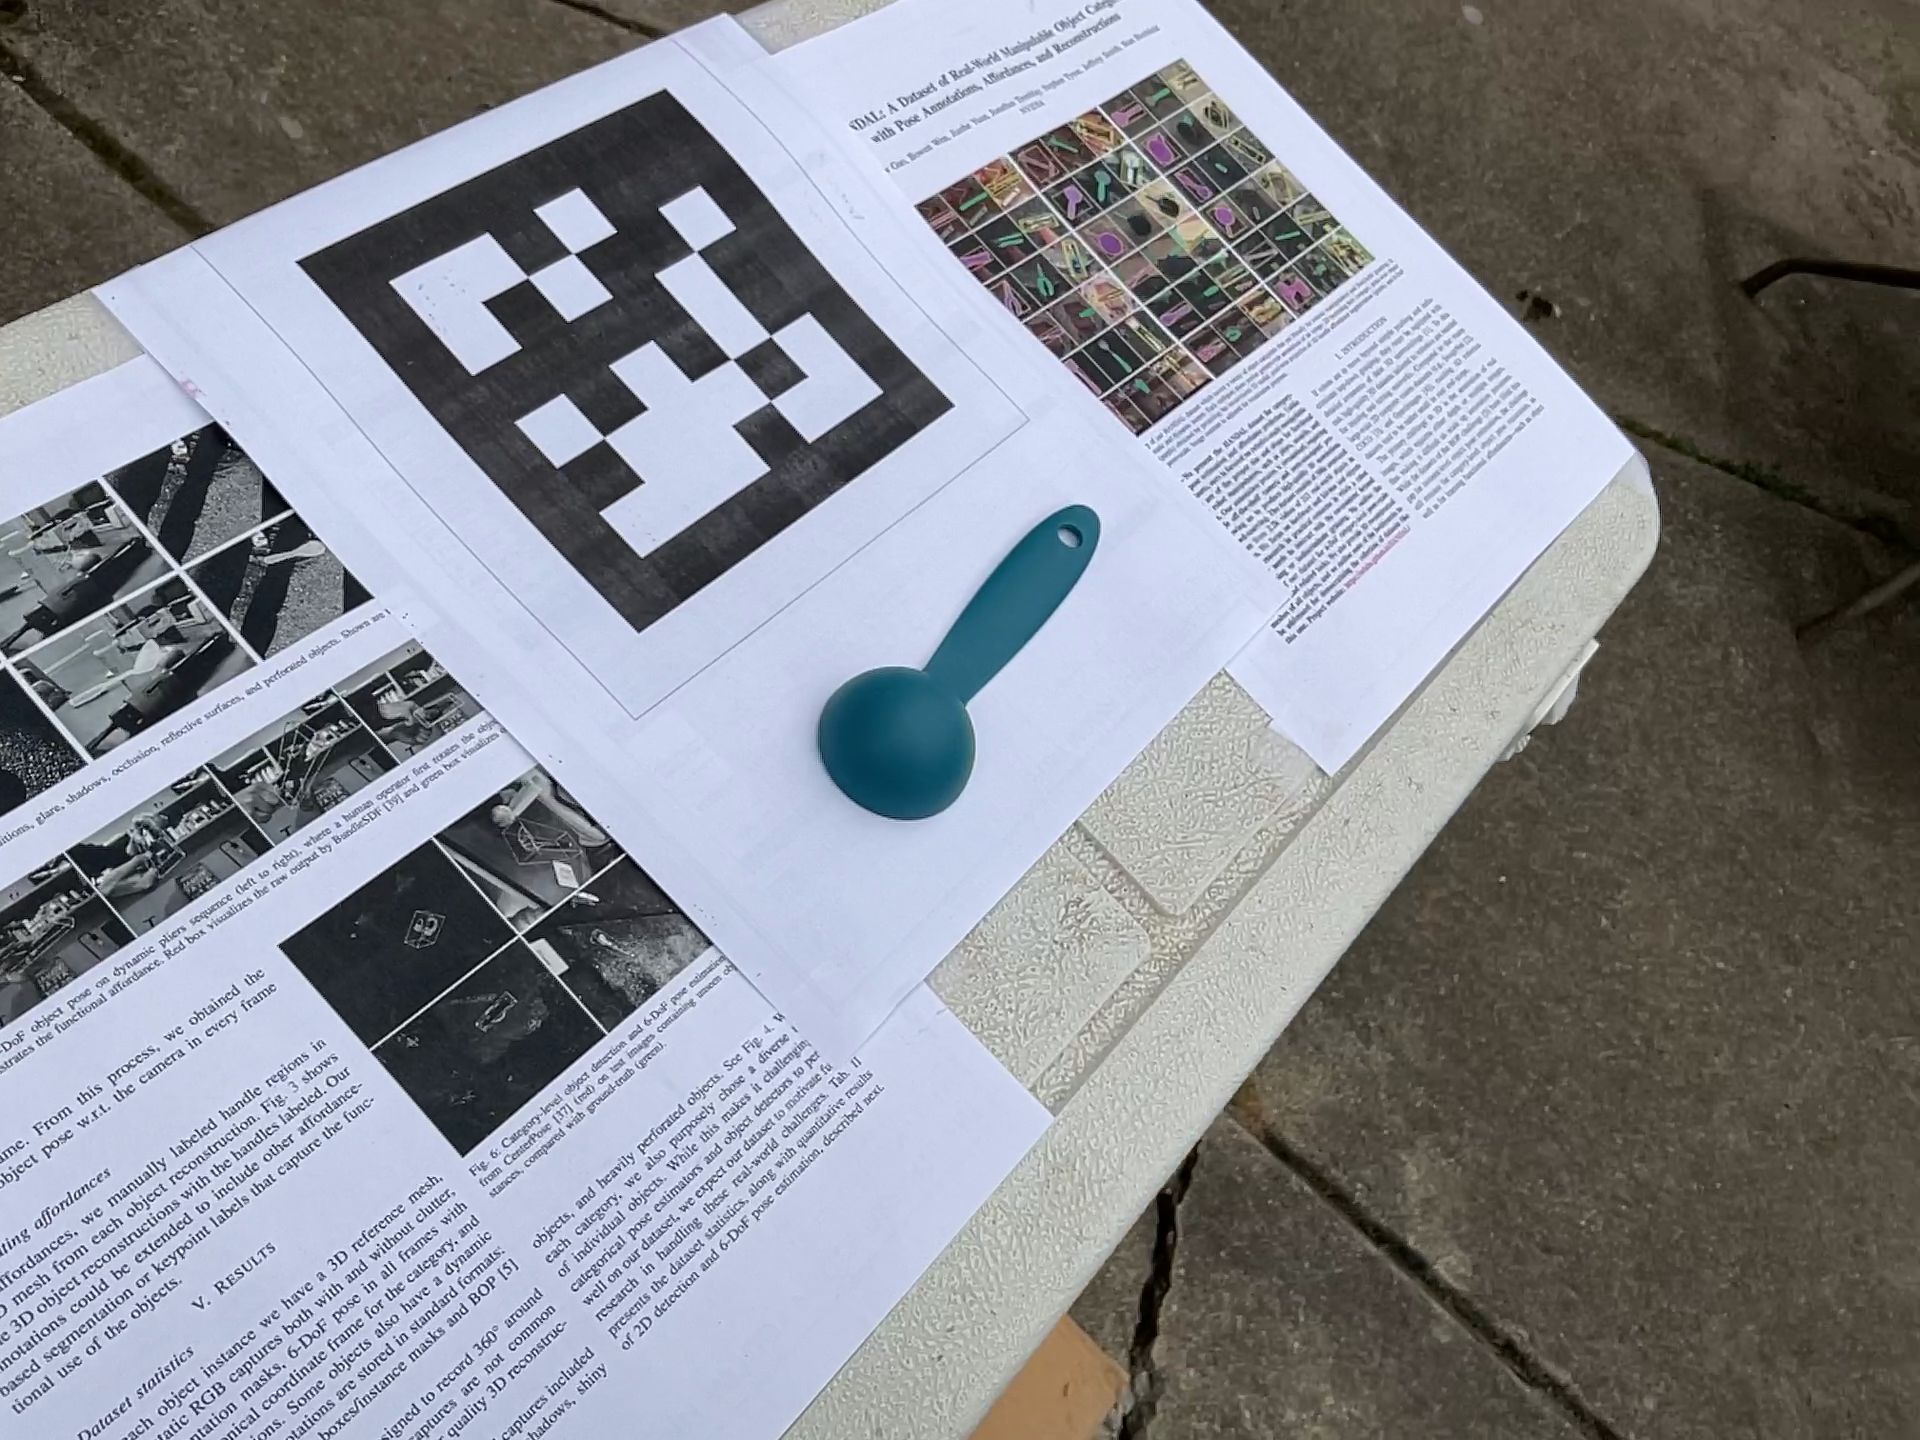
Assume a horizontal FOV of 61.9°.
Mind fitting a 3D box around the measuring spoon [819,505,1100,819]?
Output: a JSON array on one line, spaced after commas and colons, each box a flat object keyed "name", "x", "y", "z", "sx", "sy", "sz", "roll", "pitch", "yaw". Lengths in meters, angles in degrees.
[{"name": "measuring spoon", "x": 0.008, "y": -0.025, "z": 0.436, "sx": 0.042, "sy": 0.021, "sz": 0.129, "roll": 36, "pitch": 55, "yaw": 3}]
